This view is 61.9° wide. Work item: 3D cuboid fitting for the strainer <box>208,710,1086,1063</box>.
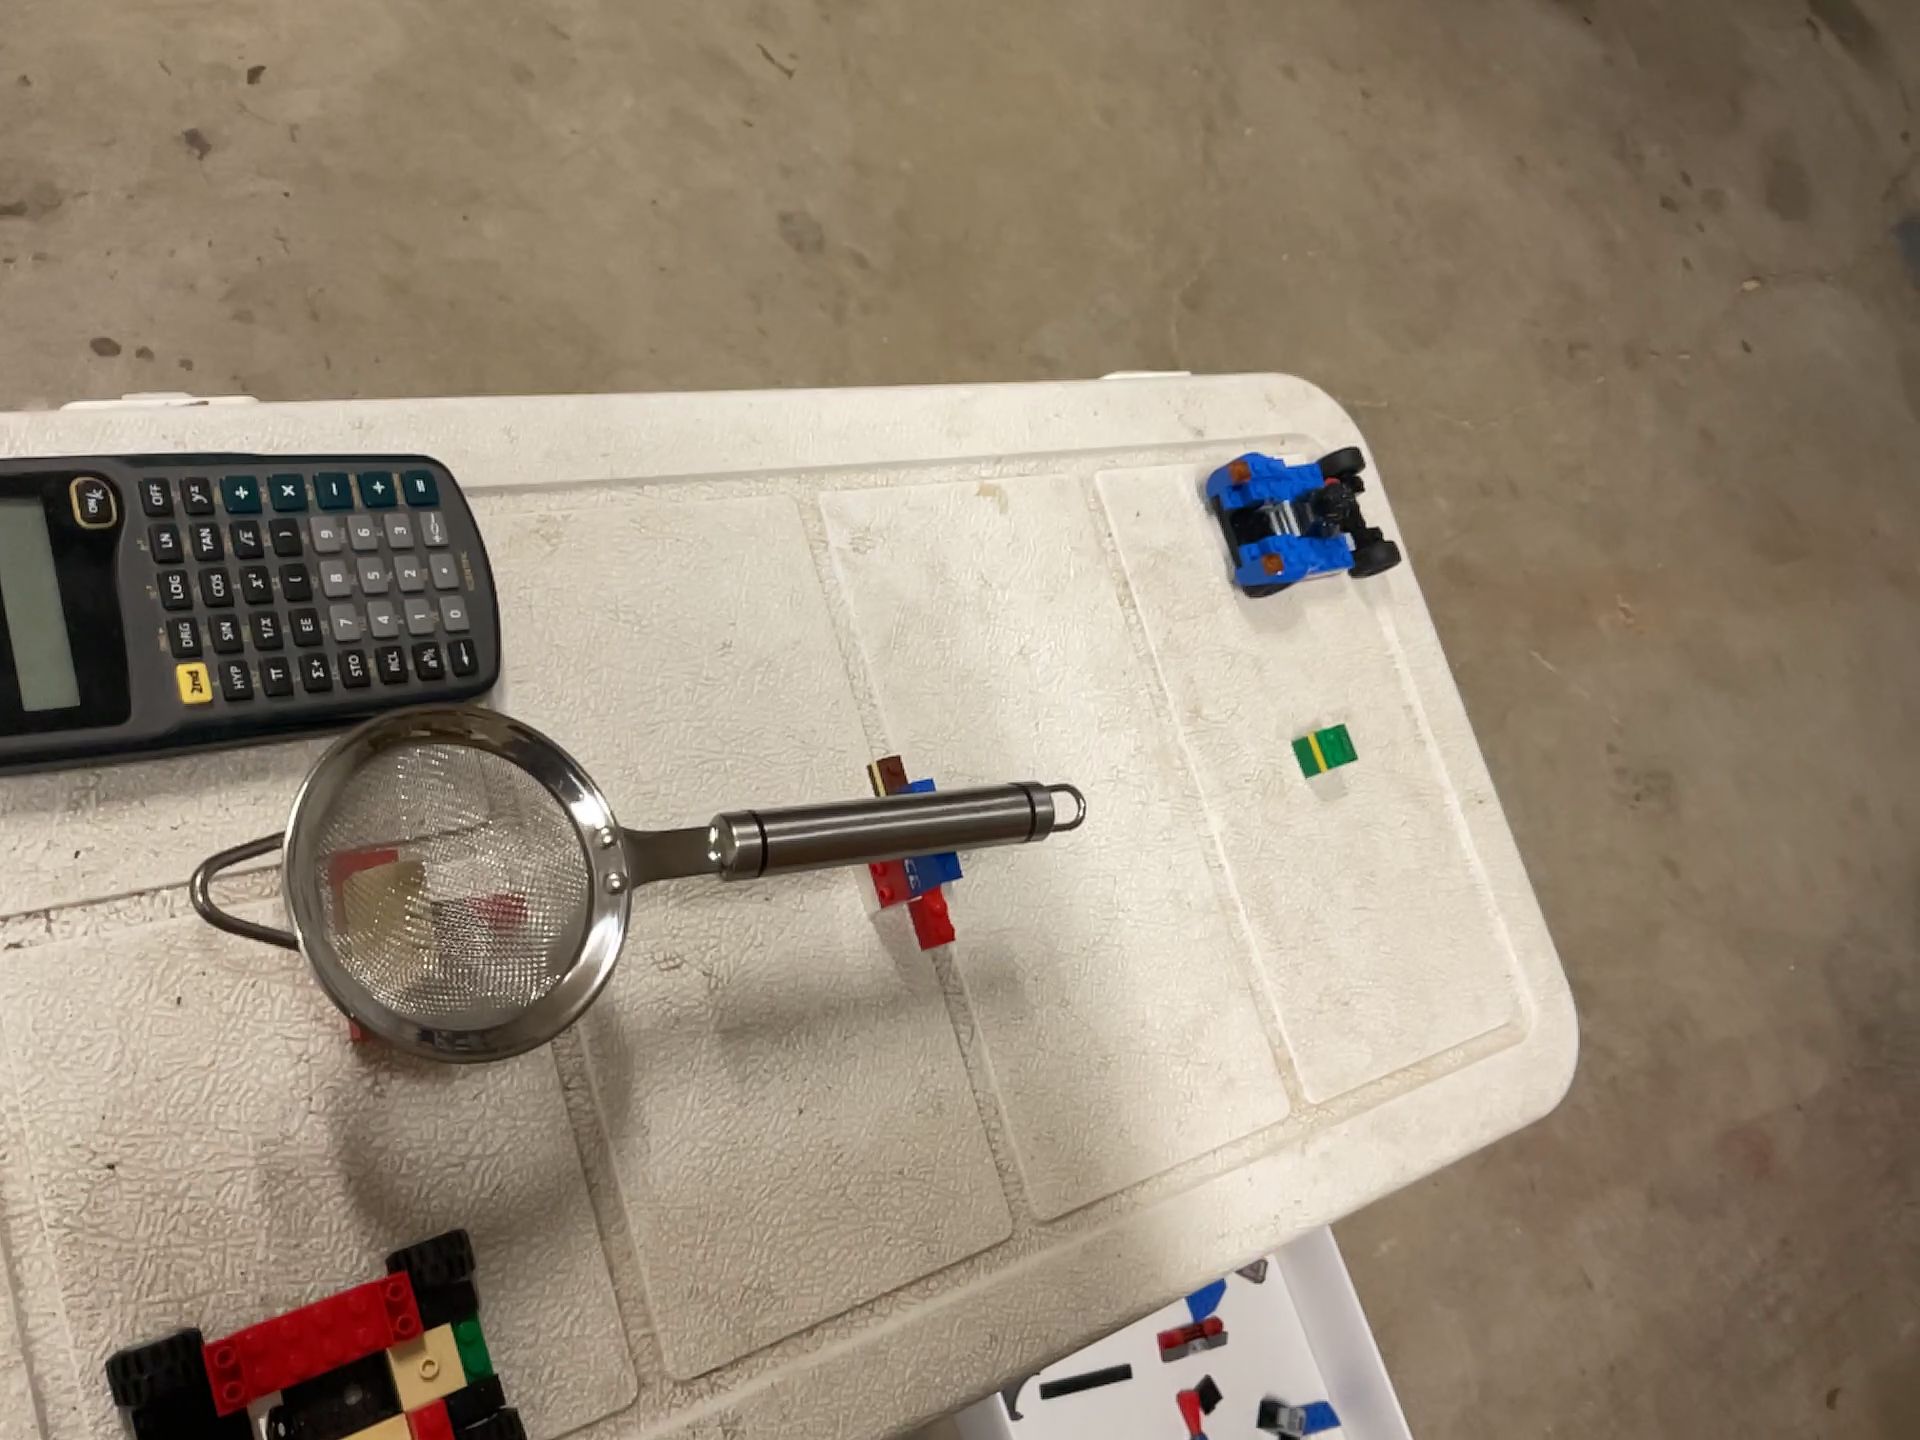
[{"bbox_3d":[-0.066,0.037,0.432,0.259,0.050,0.087,-5,77,-35],"label":"strainer"}]
